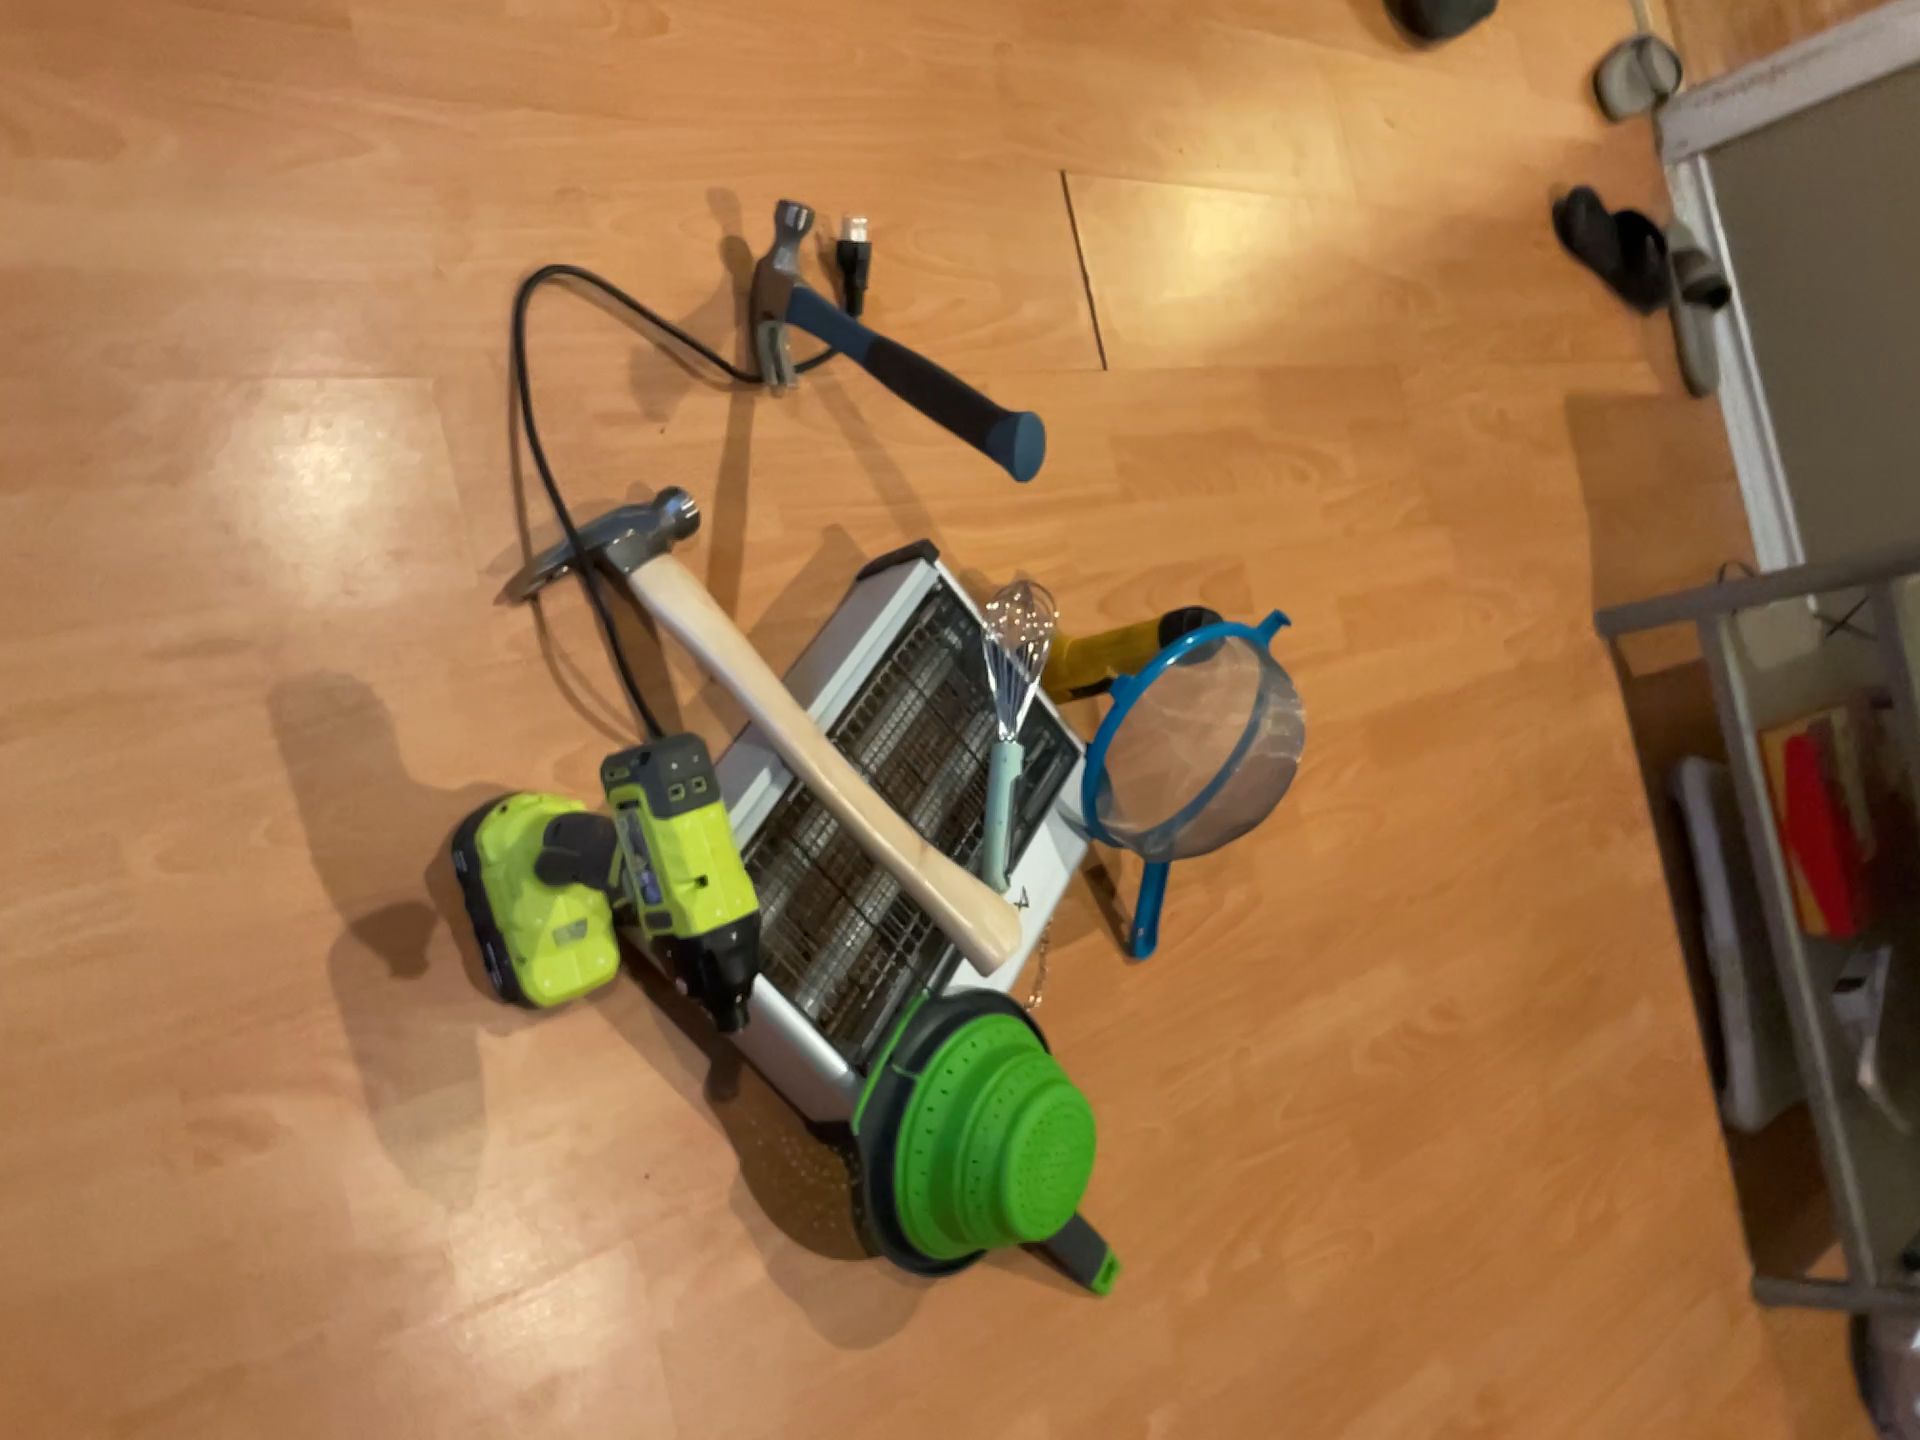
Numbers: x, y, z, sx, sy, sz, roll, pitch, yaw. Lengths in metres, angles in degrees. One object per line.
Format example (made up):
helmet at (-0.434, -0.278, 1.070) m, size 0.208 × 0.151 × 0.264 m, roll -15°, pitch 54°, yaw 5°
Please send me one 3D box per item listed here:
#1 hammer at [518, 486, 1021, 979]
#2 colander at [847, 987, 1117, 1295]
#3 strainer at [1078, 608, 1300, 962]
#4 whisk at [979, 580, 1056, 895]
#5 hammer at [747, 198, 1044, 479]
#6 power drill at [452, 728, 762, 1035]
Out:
hammer at (-0.117, 0.018, 1.085) m, size 0.410 × 0.038 × 0.146 m, roll 47°, pitch 48°, yaw 5°
colander at (0.064, 0.347, 1.184) m, size 0.204 × 0.094 × 0.396 m, roll -60°, pitch 137°, yaw -25°
strainer at (0.197, 0.086, 1.306) m, size 0.211 × 0.095 × 0.340 m, roll -22°, pitch 132°, yaw -33°
whisk at (0.037, 0.011, 1.218) m, size 0.058 × 0.059 × 0.246 m, roll 38°, pitch 55°, yaw -67°
hammer at (-0.053, -0.259, 1.143) m, size 0.033 × 0.331 × 0.128 m, roll -3°, pitch 123°, yaw -43°
power drill at (-0.207, 0.106, 0.958) m, size 0.080 × 0.223 × 0.171 m, roll -19°, pitch 94°, yaw -43°
